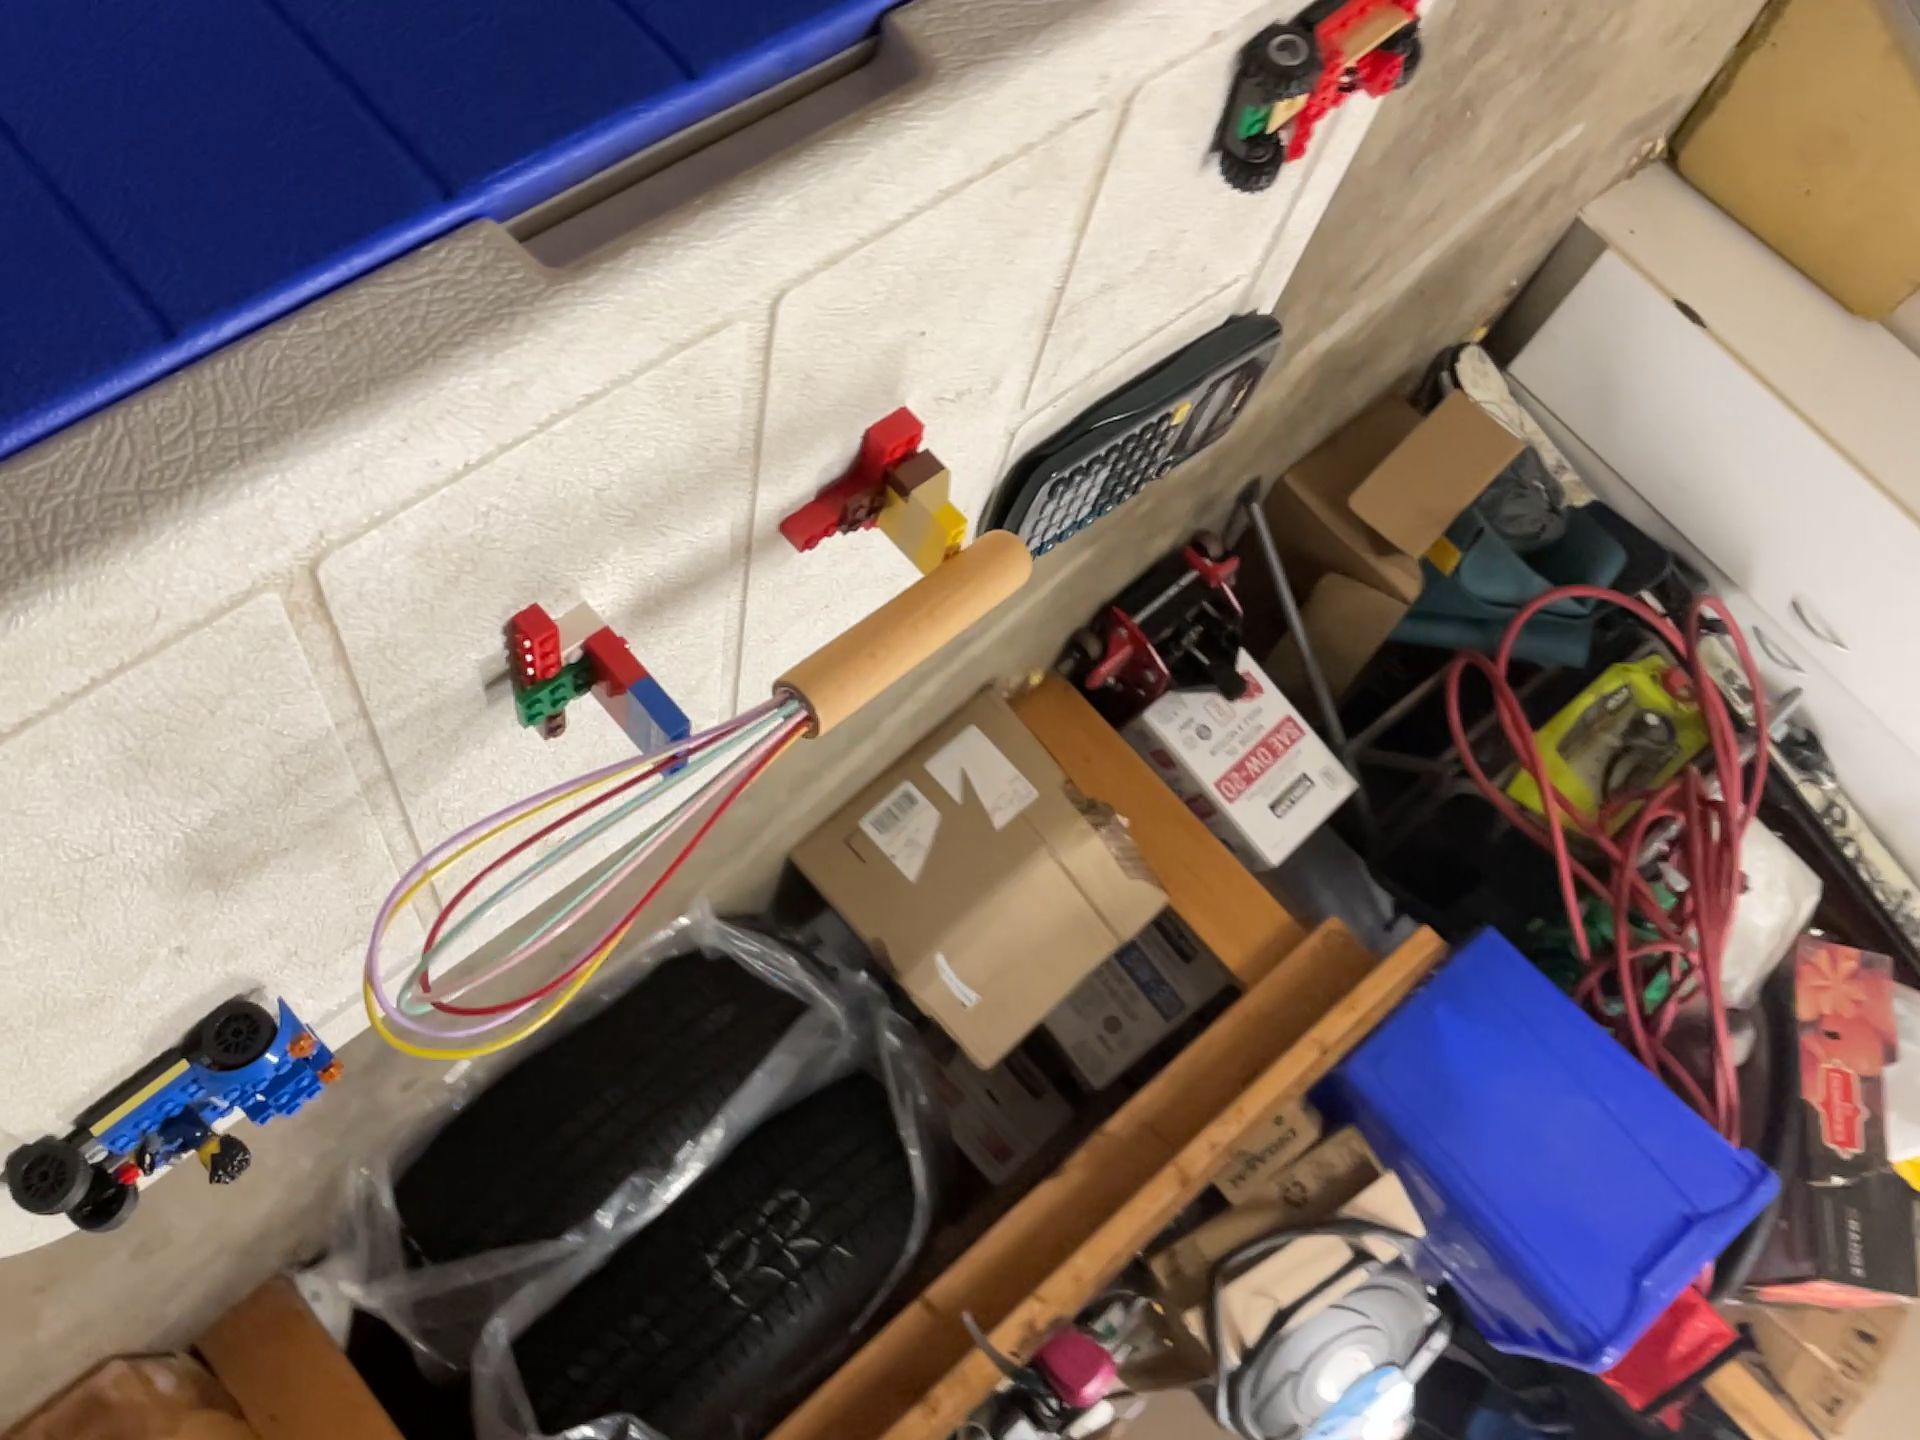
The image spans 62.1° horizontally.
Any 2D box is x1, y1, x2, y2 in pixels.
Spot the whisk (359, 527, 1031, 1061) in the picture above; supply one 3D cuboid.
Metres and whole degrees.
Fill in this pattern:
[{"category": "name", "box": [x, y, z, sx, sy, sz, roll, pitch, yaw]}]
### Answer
[{"category": "whisk", "box": [-0.062, 0.012, 0.458, 0.245, 0.047, 0.051, -39, 155, -32]}]
